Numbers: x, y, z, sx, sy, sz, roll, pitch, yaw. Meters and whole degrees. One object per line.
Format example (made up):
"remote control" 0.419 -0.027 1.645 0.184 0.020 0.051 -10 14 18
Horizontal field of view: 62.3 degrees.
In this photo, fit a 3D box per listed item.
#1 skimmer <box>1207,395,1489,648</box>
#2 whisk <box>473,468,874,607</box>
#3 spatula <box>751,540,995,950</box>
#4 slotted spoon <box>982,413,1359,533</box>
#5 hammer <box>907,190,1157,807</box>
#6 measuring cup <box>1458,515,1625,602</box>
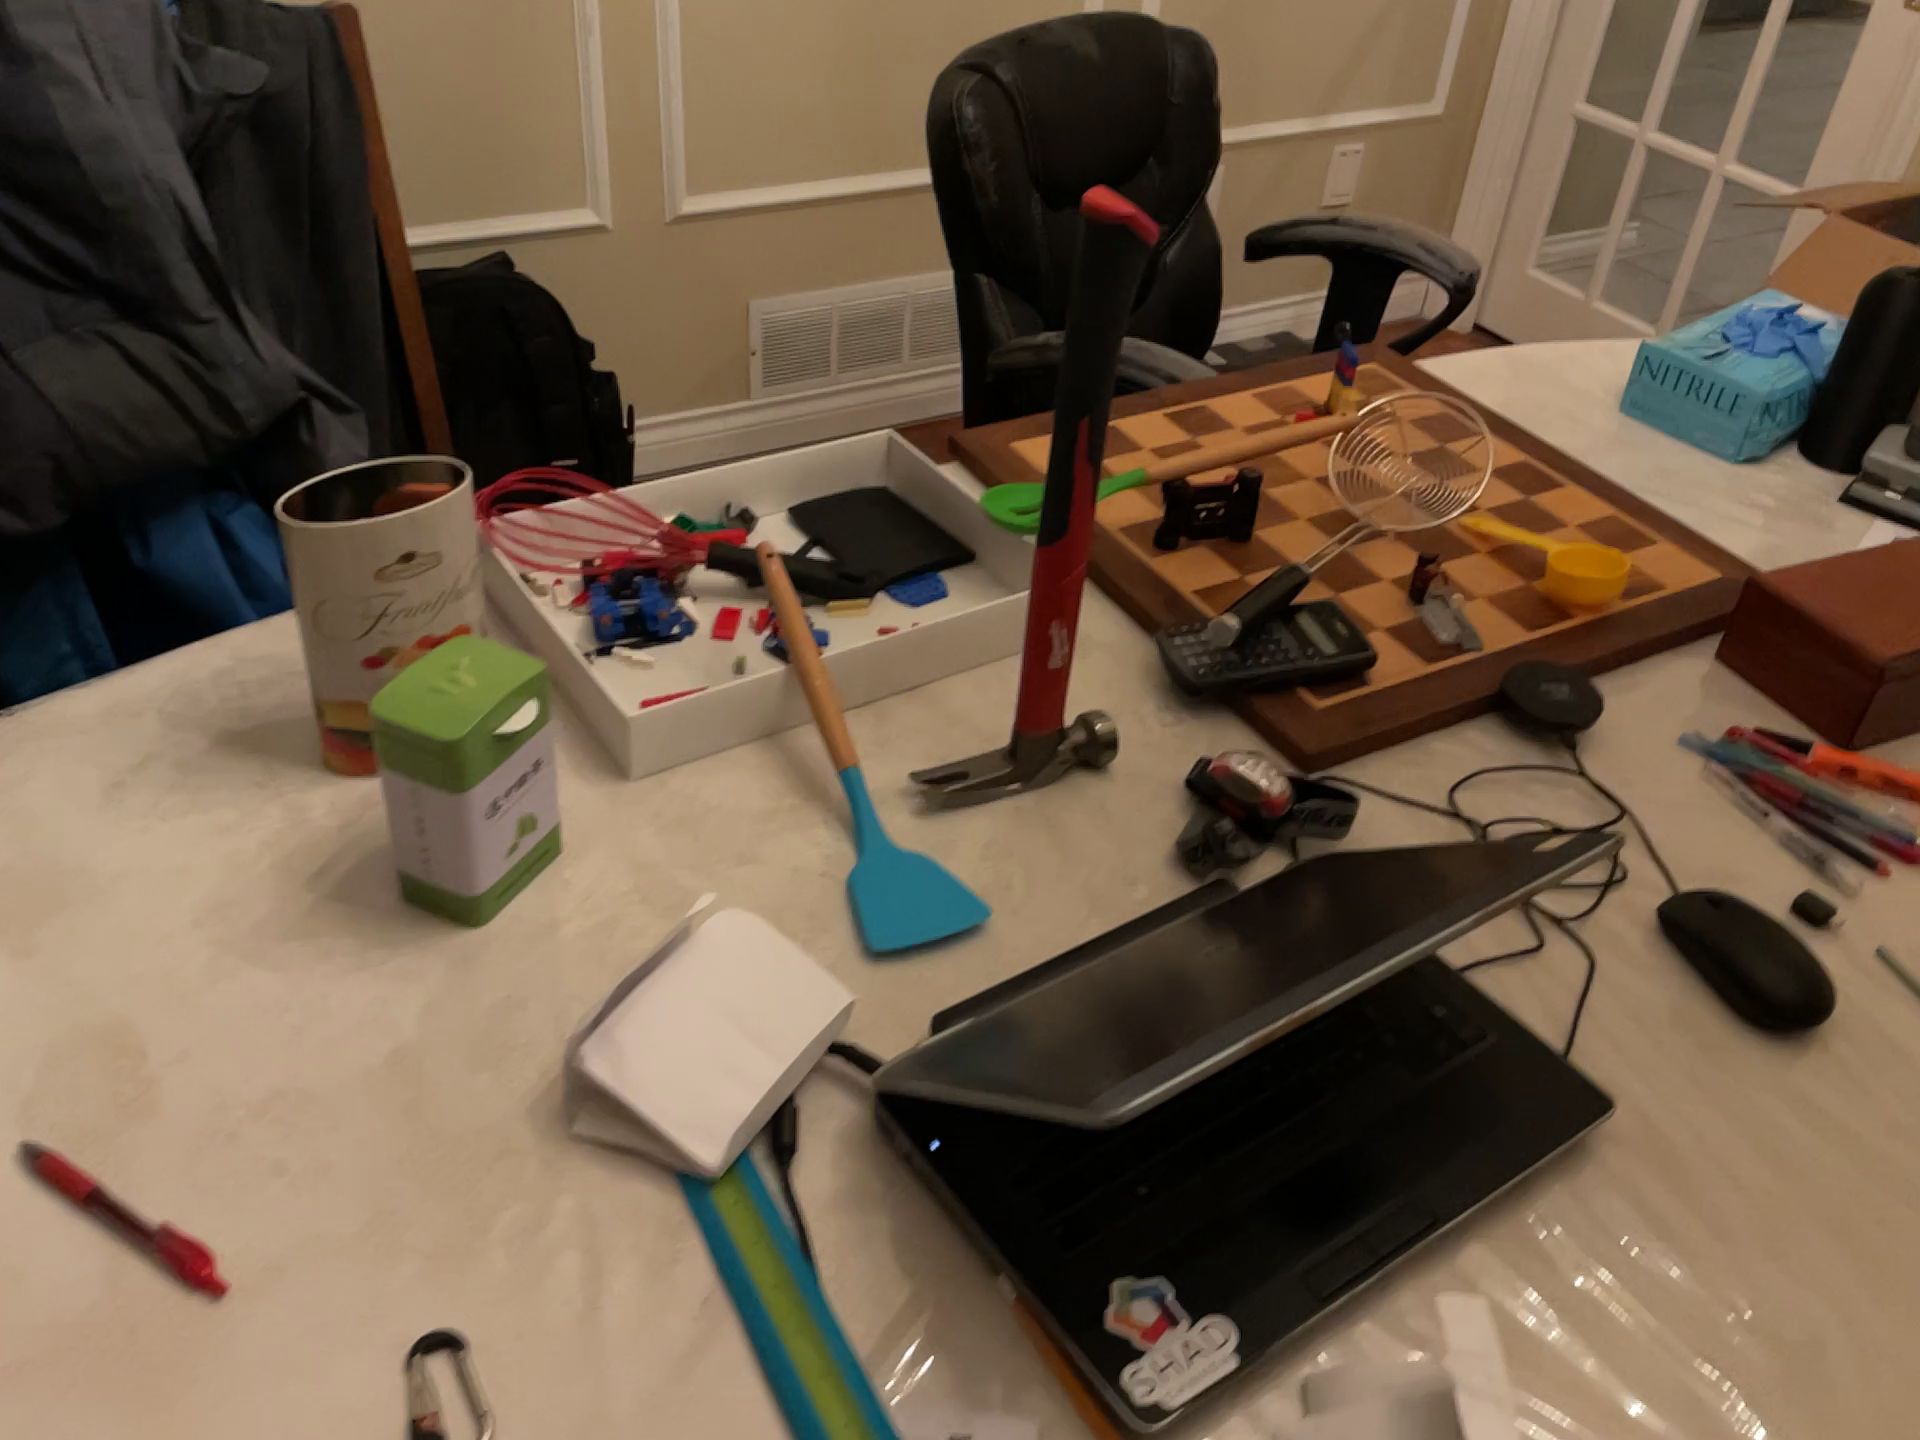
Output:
"skimmer" 0.289 -0.156 1.209 0.127 0.090 0.363 29 39 25
"whisk" -0.206 -0.125 1.161 0.295 0.073 0.073 12 54 -14
"spatula" -0.076 0.005 0.998 0.082 0.044 0.318 -14 62 -21
"slotted spoon" 0.166 -0.193 1.222 0.313 0.031 0.070 -16 39 -12
"hammer" 0.048 -0.112 0.929 0.143 0.386 0.038 -14 42 -24
"measuring cup" 0.457 -0.130 1.266 0.062 0.029 0.157 -19 31 -24
